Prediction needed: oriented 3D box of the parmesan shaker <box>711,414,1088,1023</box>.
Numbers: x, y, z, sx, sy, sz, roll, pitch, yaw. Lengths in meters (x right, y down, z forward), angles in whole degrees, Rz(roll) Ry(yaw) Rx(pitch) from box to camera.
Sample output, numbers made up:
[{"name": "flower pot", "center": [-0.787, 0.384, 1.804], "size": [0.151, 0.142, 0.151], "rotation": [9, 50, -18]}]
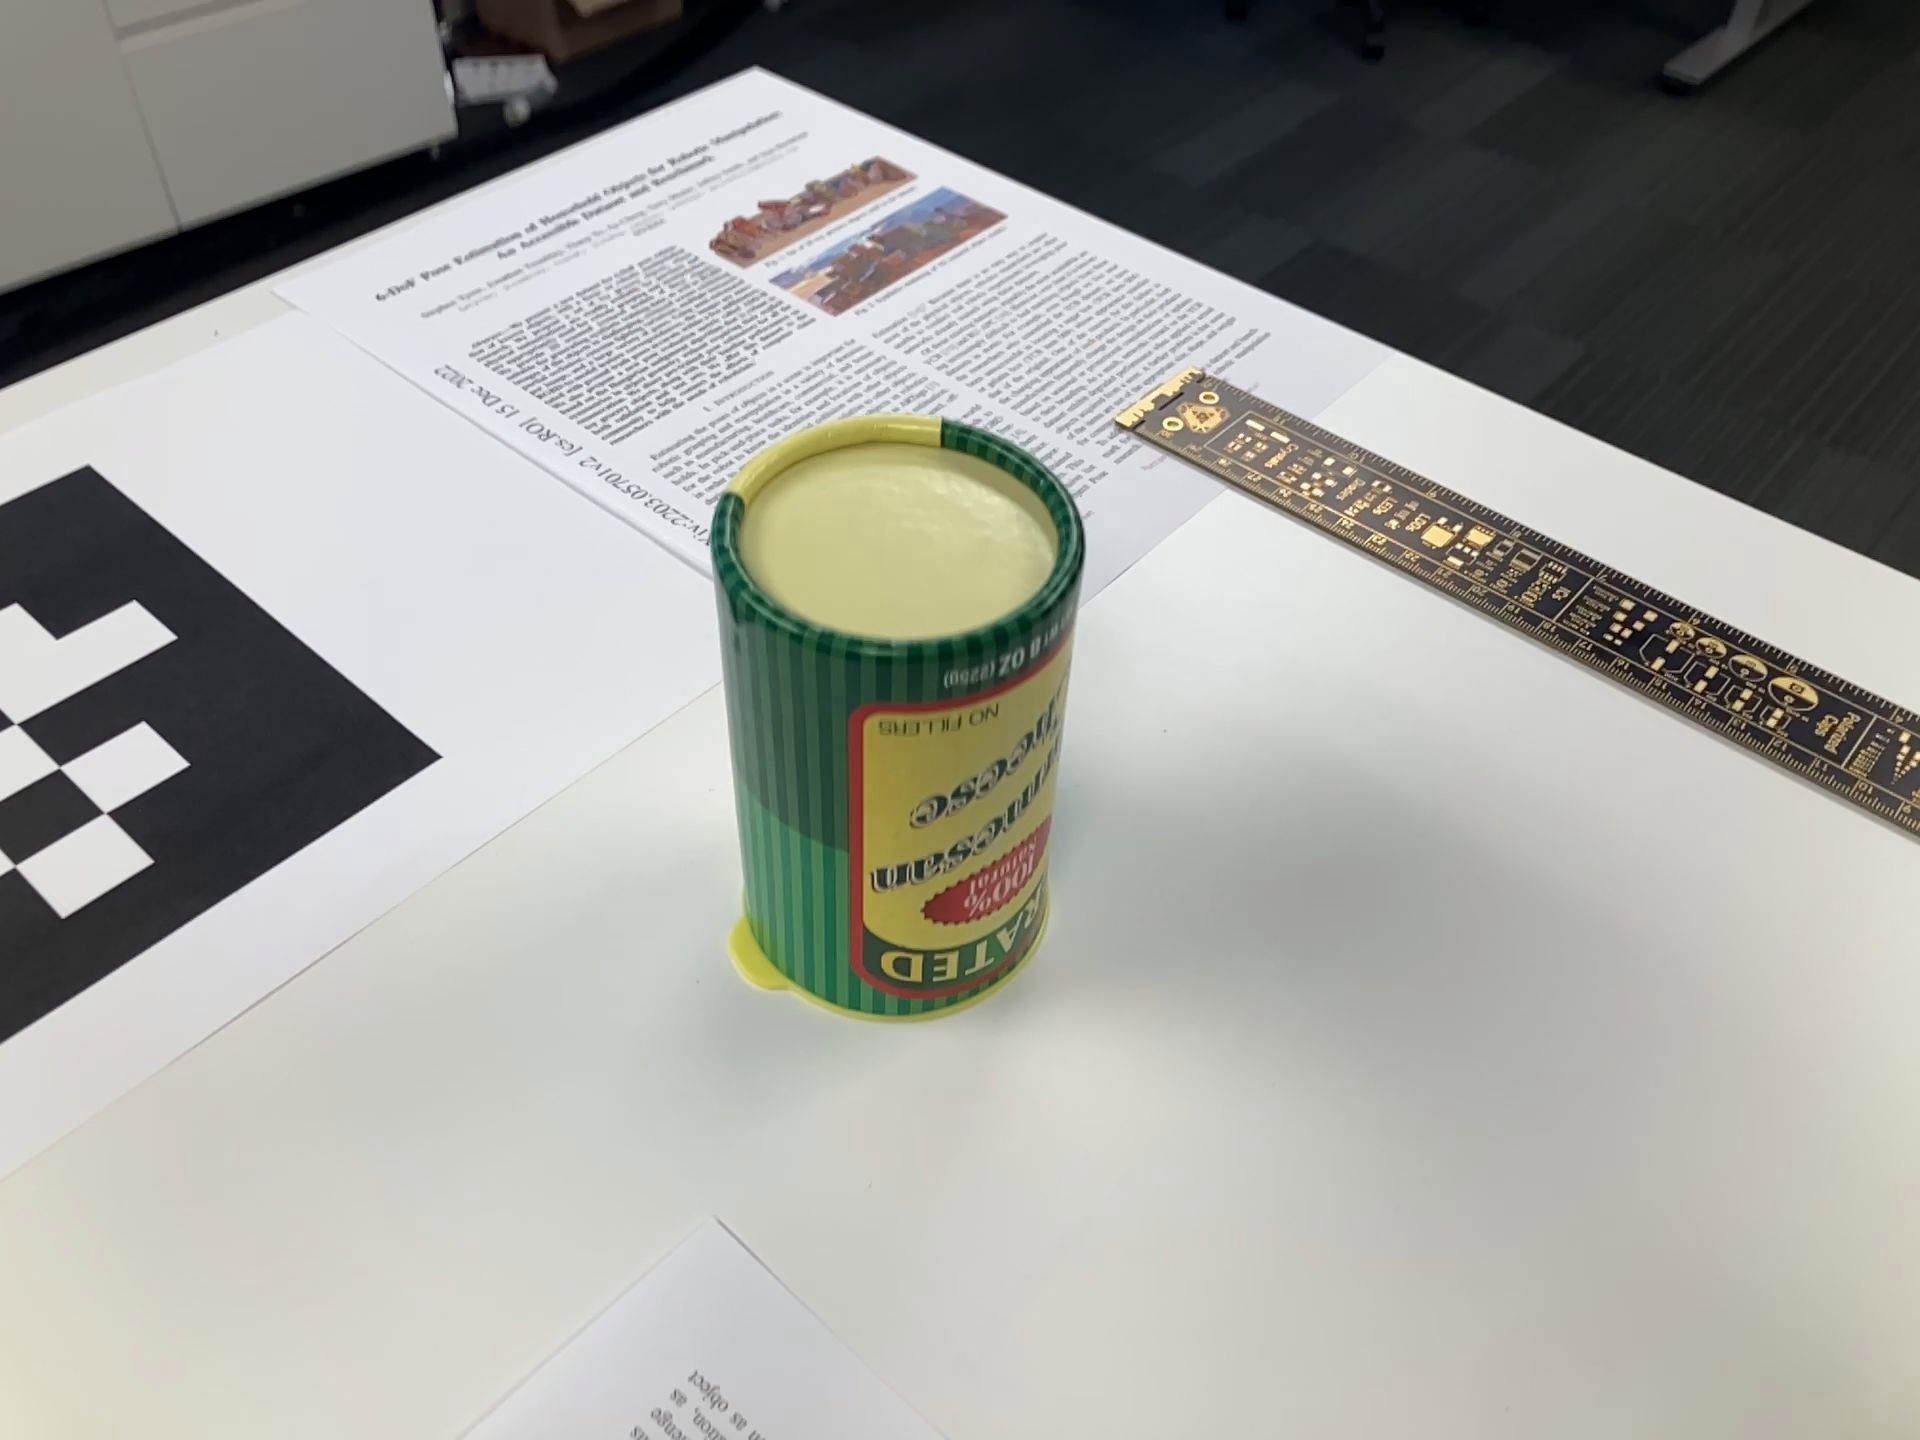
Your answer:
[{"name": "parmesan shaker", "center": [-0.014, 0.003, 0.305], "size": [0.071, 0.103, 0.071], "rotation": [1, 46, -1]}]
